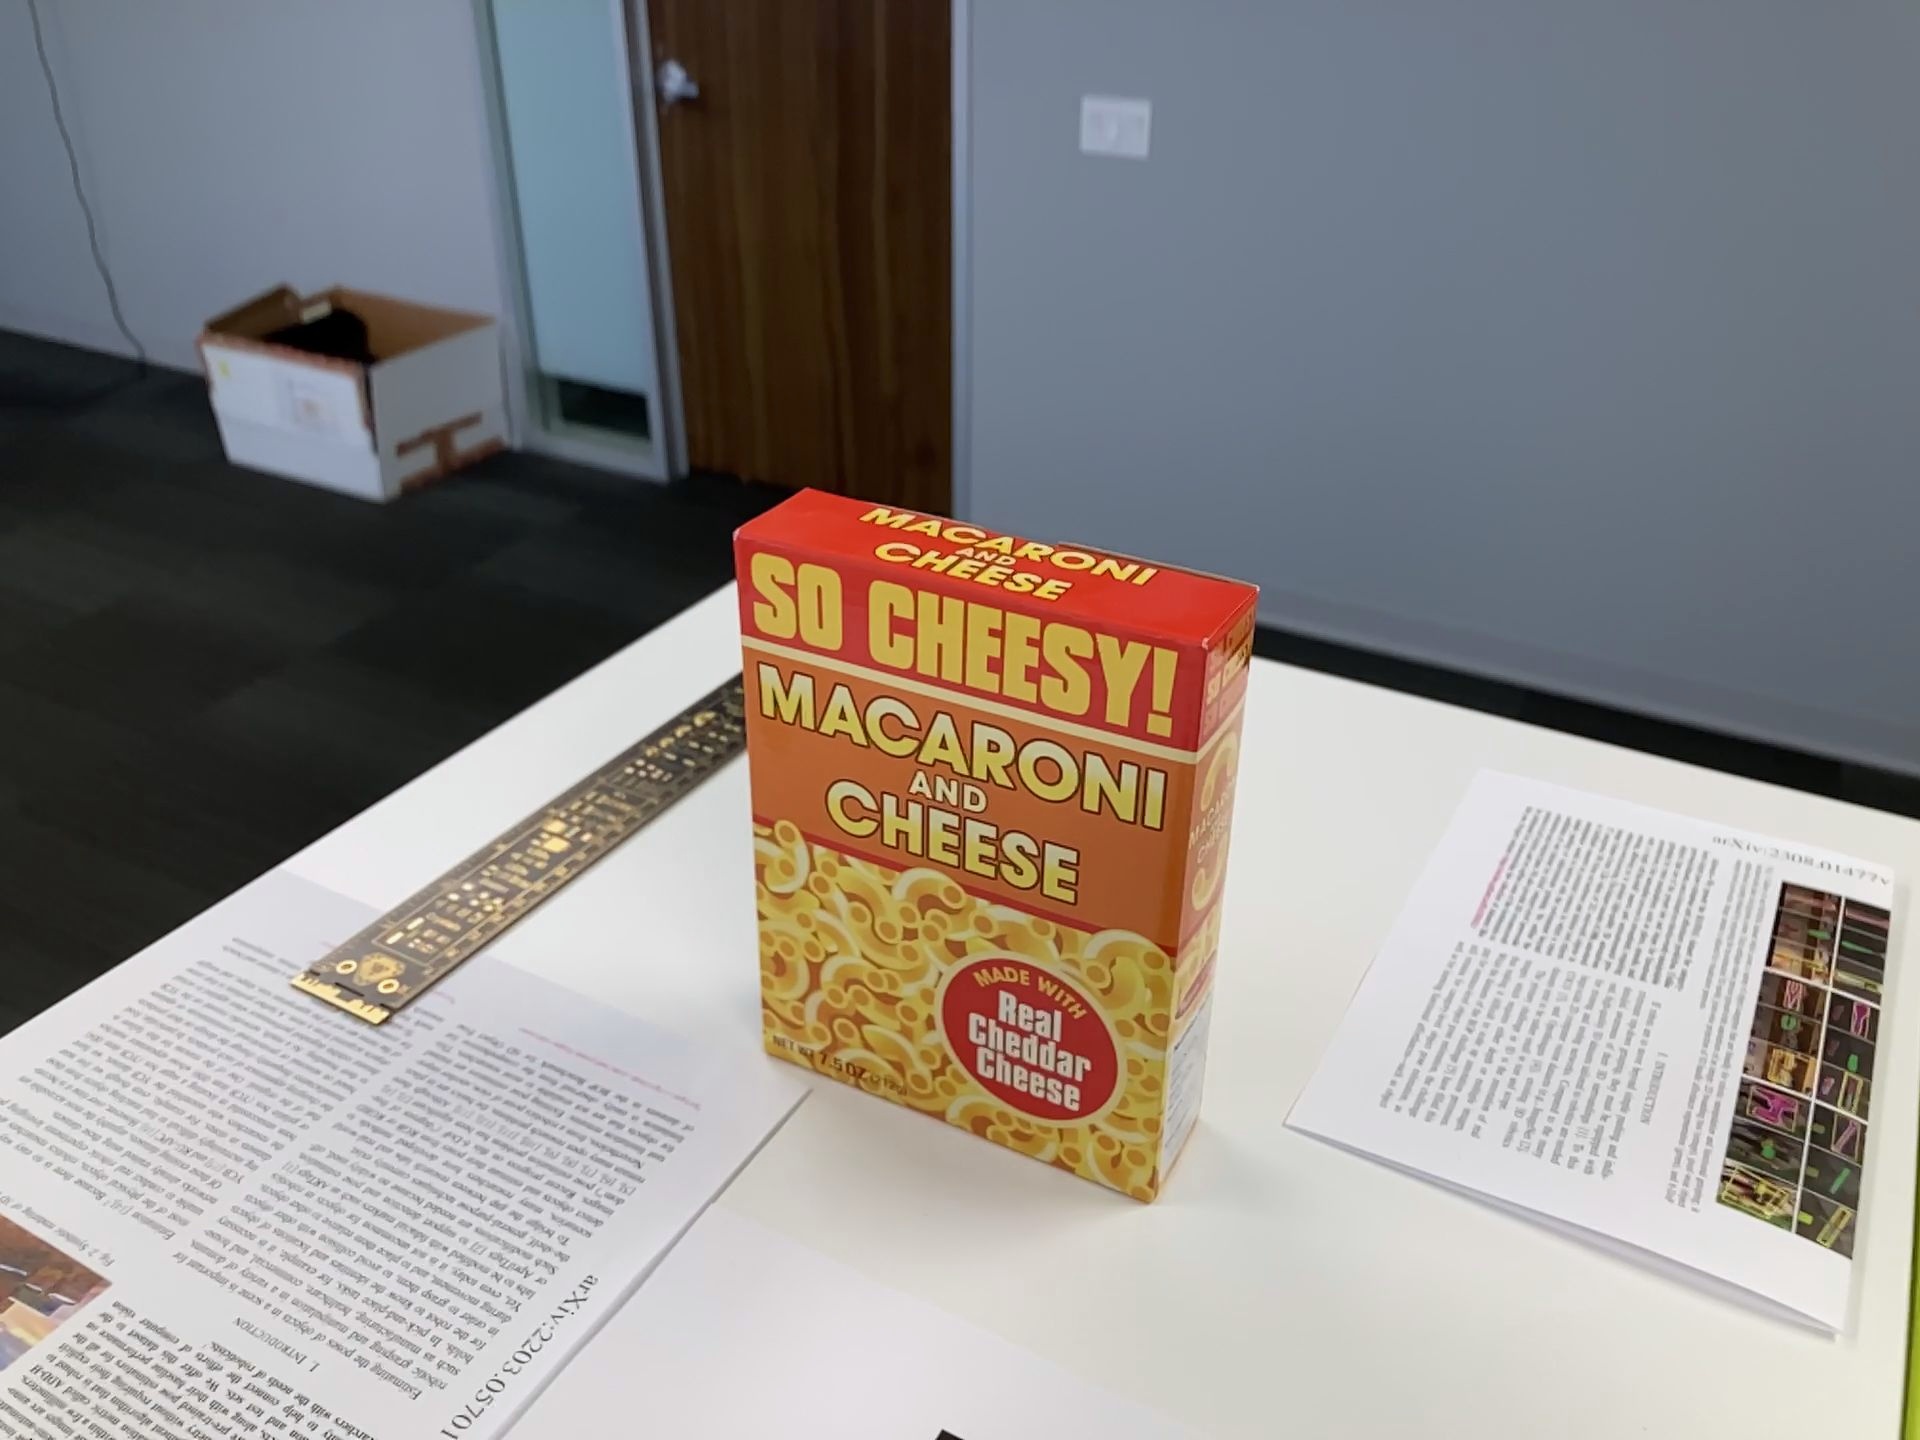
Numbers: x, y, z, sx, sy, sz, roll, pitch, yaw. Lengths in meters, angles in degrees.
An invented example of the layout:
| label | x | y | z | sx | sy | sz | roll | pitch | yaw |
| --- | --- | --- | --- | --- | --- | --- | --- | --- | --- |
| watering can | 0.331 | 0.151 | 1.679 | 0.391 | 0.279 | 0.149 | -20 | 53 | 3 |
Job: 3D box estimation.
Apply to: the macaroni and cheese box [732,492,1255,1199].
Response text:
| label | x | y | z | sx | sy | sz | roll | pitch | yaw |
| --- | --- | --- | --- | --- | --- | --- | --- | --- | --- |
| macaroni and cheese box | 0.005 | 0.033 | 0.417 | 0.124 | 0.166 | 0.040 | 14 | 32 | 22 |
